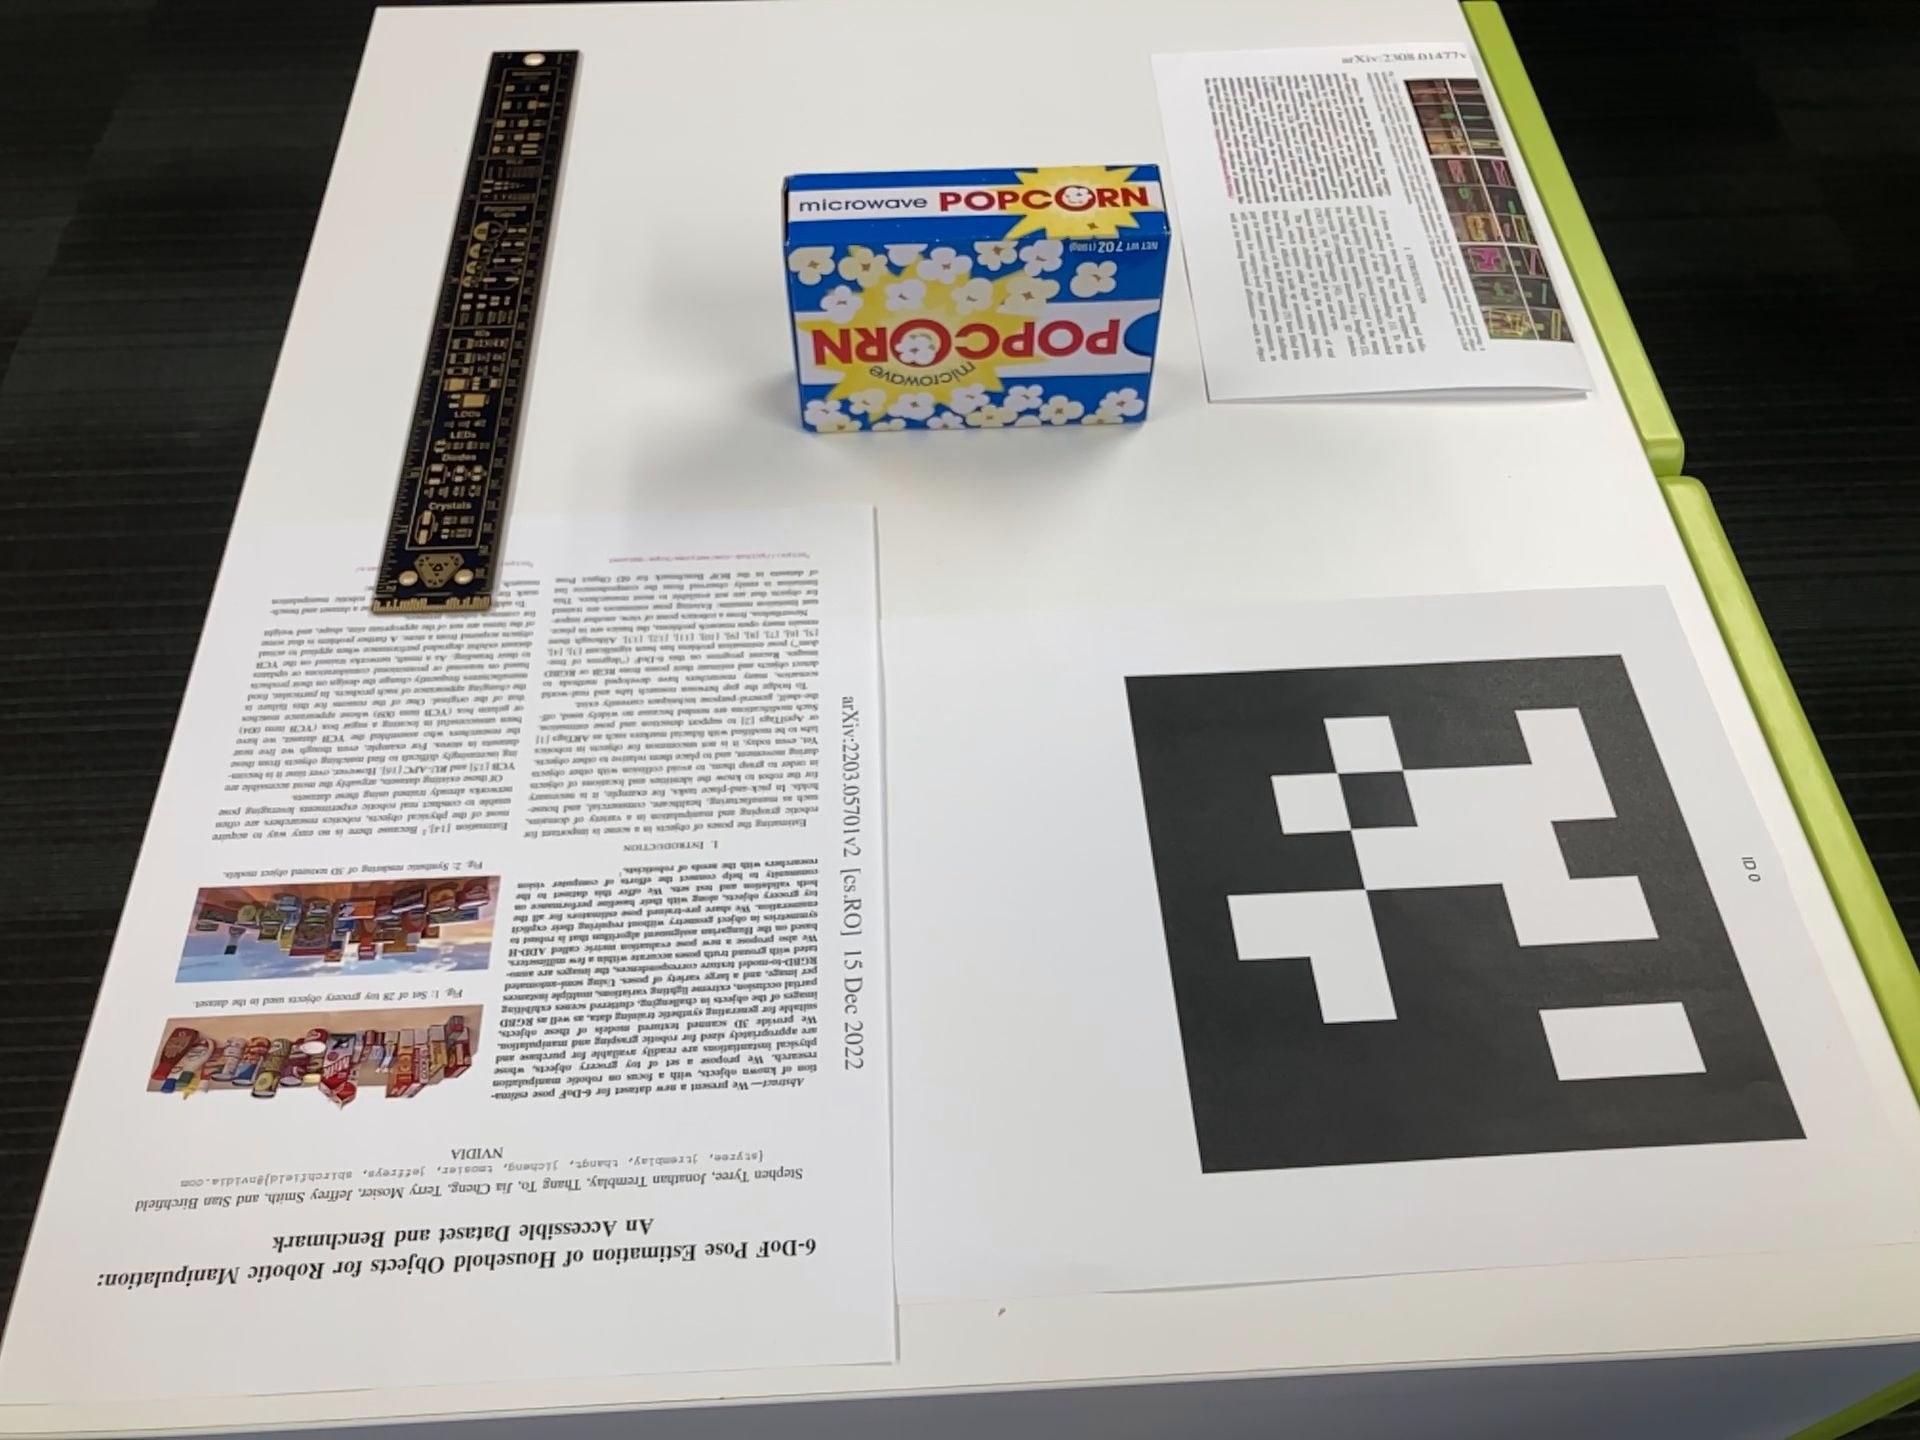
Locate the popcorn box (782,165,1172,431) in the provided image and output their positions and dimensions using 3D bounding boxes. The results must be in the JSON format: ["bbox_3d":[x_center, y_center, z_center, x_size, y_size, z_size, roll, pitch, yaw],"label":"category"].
[{"bbox_3d":[0.004,-0.145,0.552,0.126,0.085,0.038,-2,54,-2],"label":"popcorn box"}]
